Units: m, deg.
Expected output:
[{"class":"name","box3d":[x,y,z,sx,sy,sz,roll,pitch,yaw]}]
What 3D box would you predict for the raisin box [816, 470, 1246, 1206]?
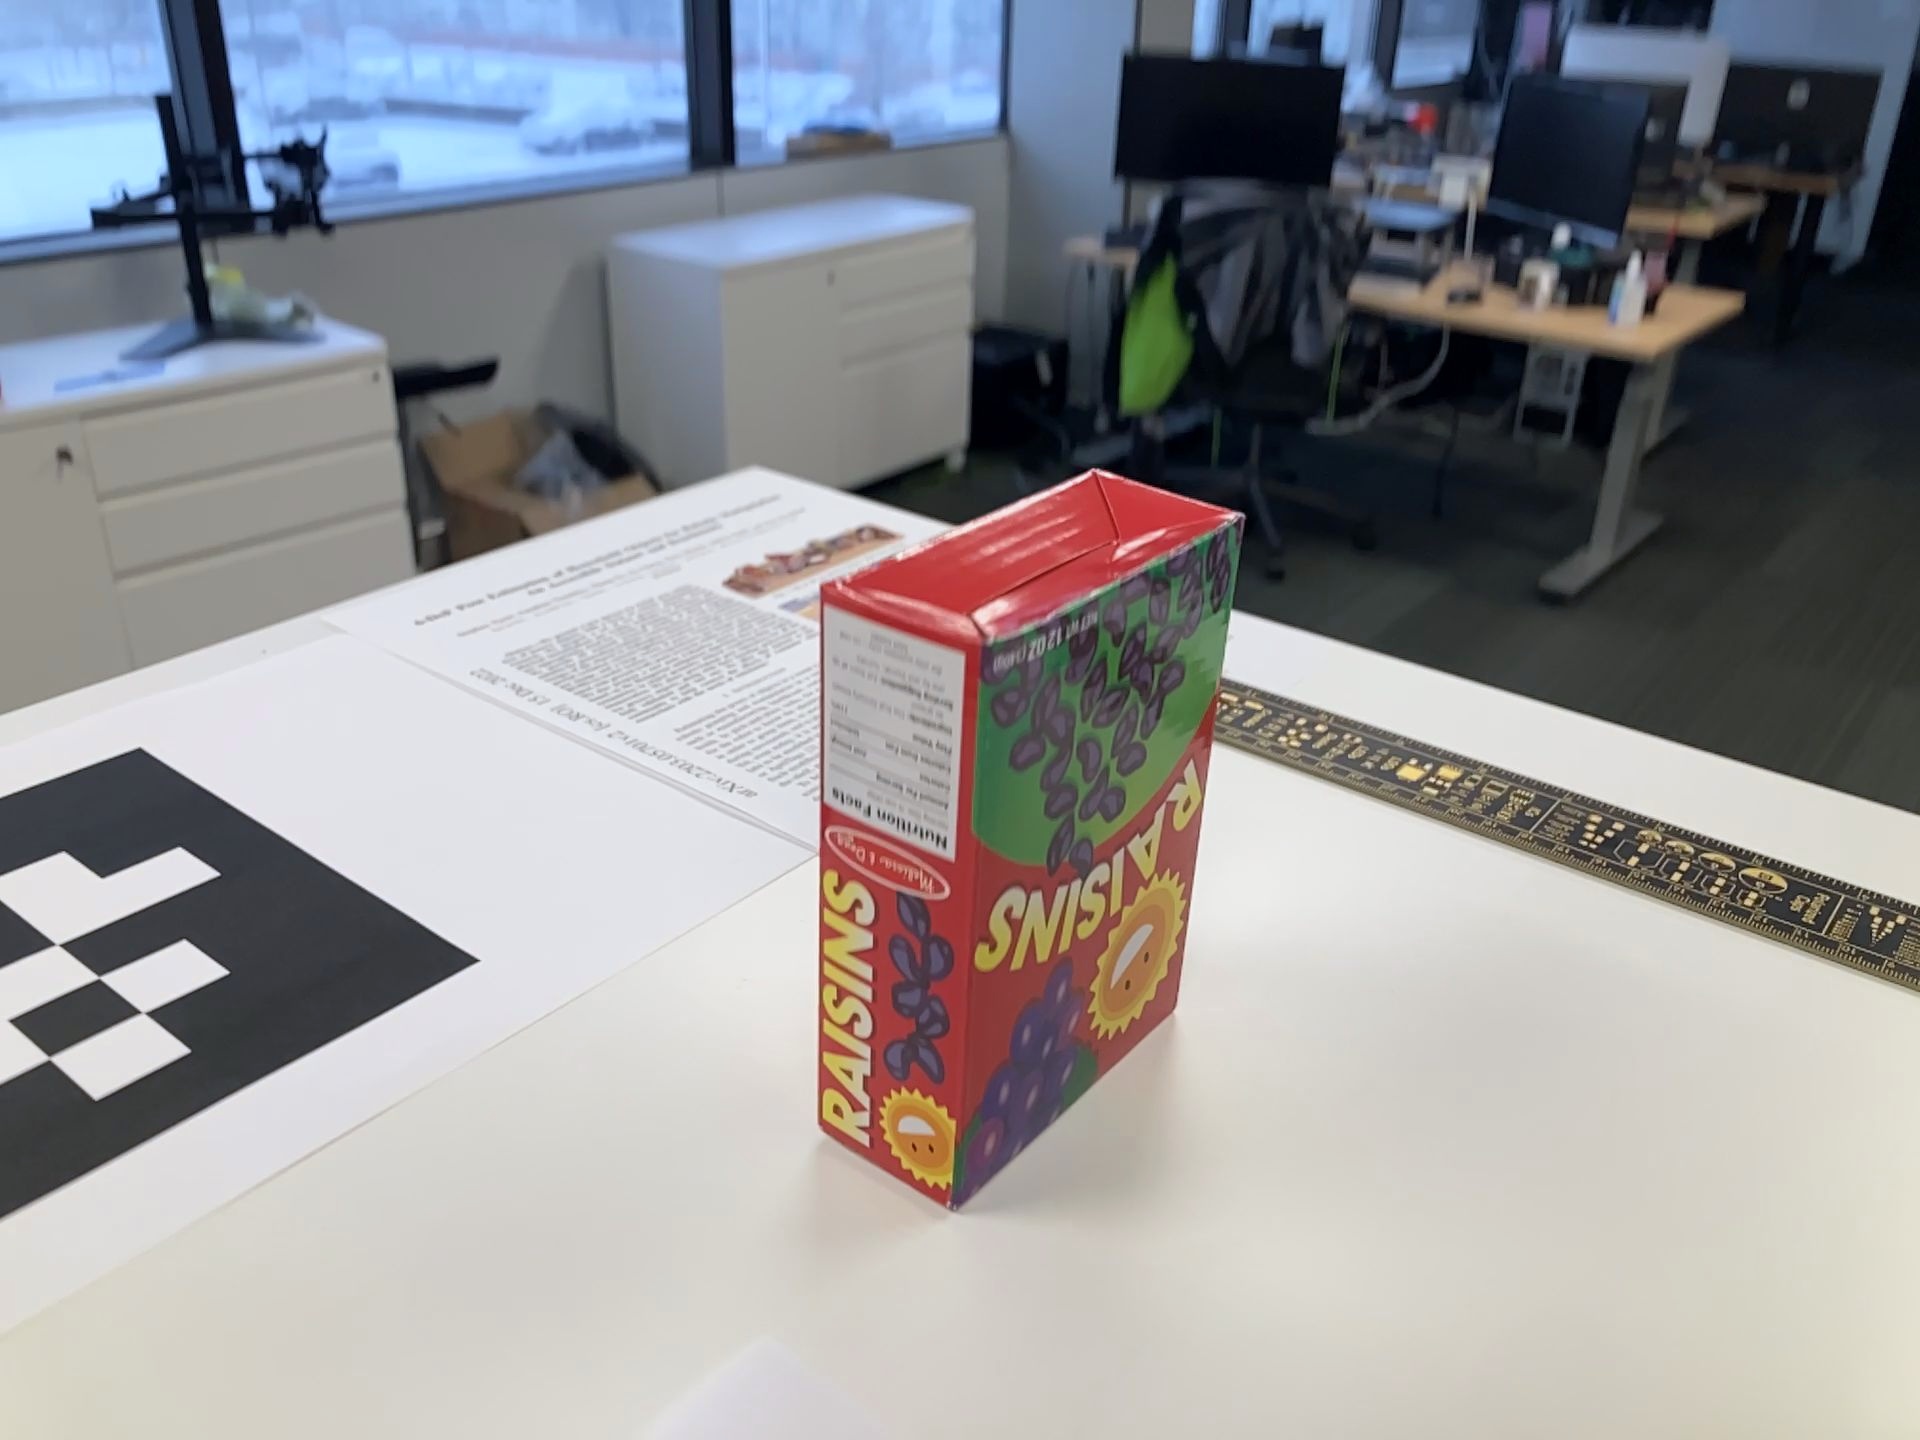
[{"class":"raisin box","box3d":[0.012,0.022,0.318,0.040,0.123,0.086,22,33,31]}]
